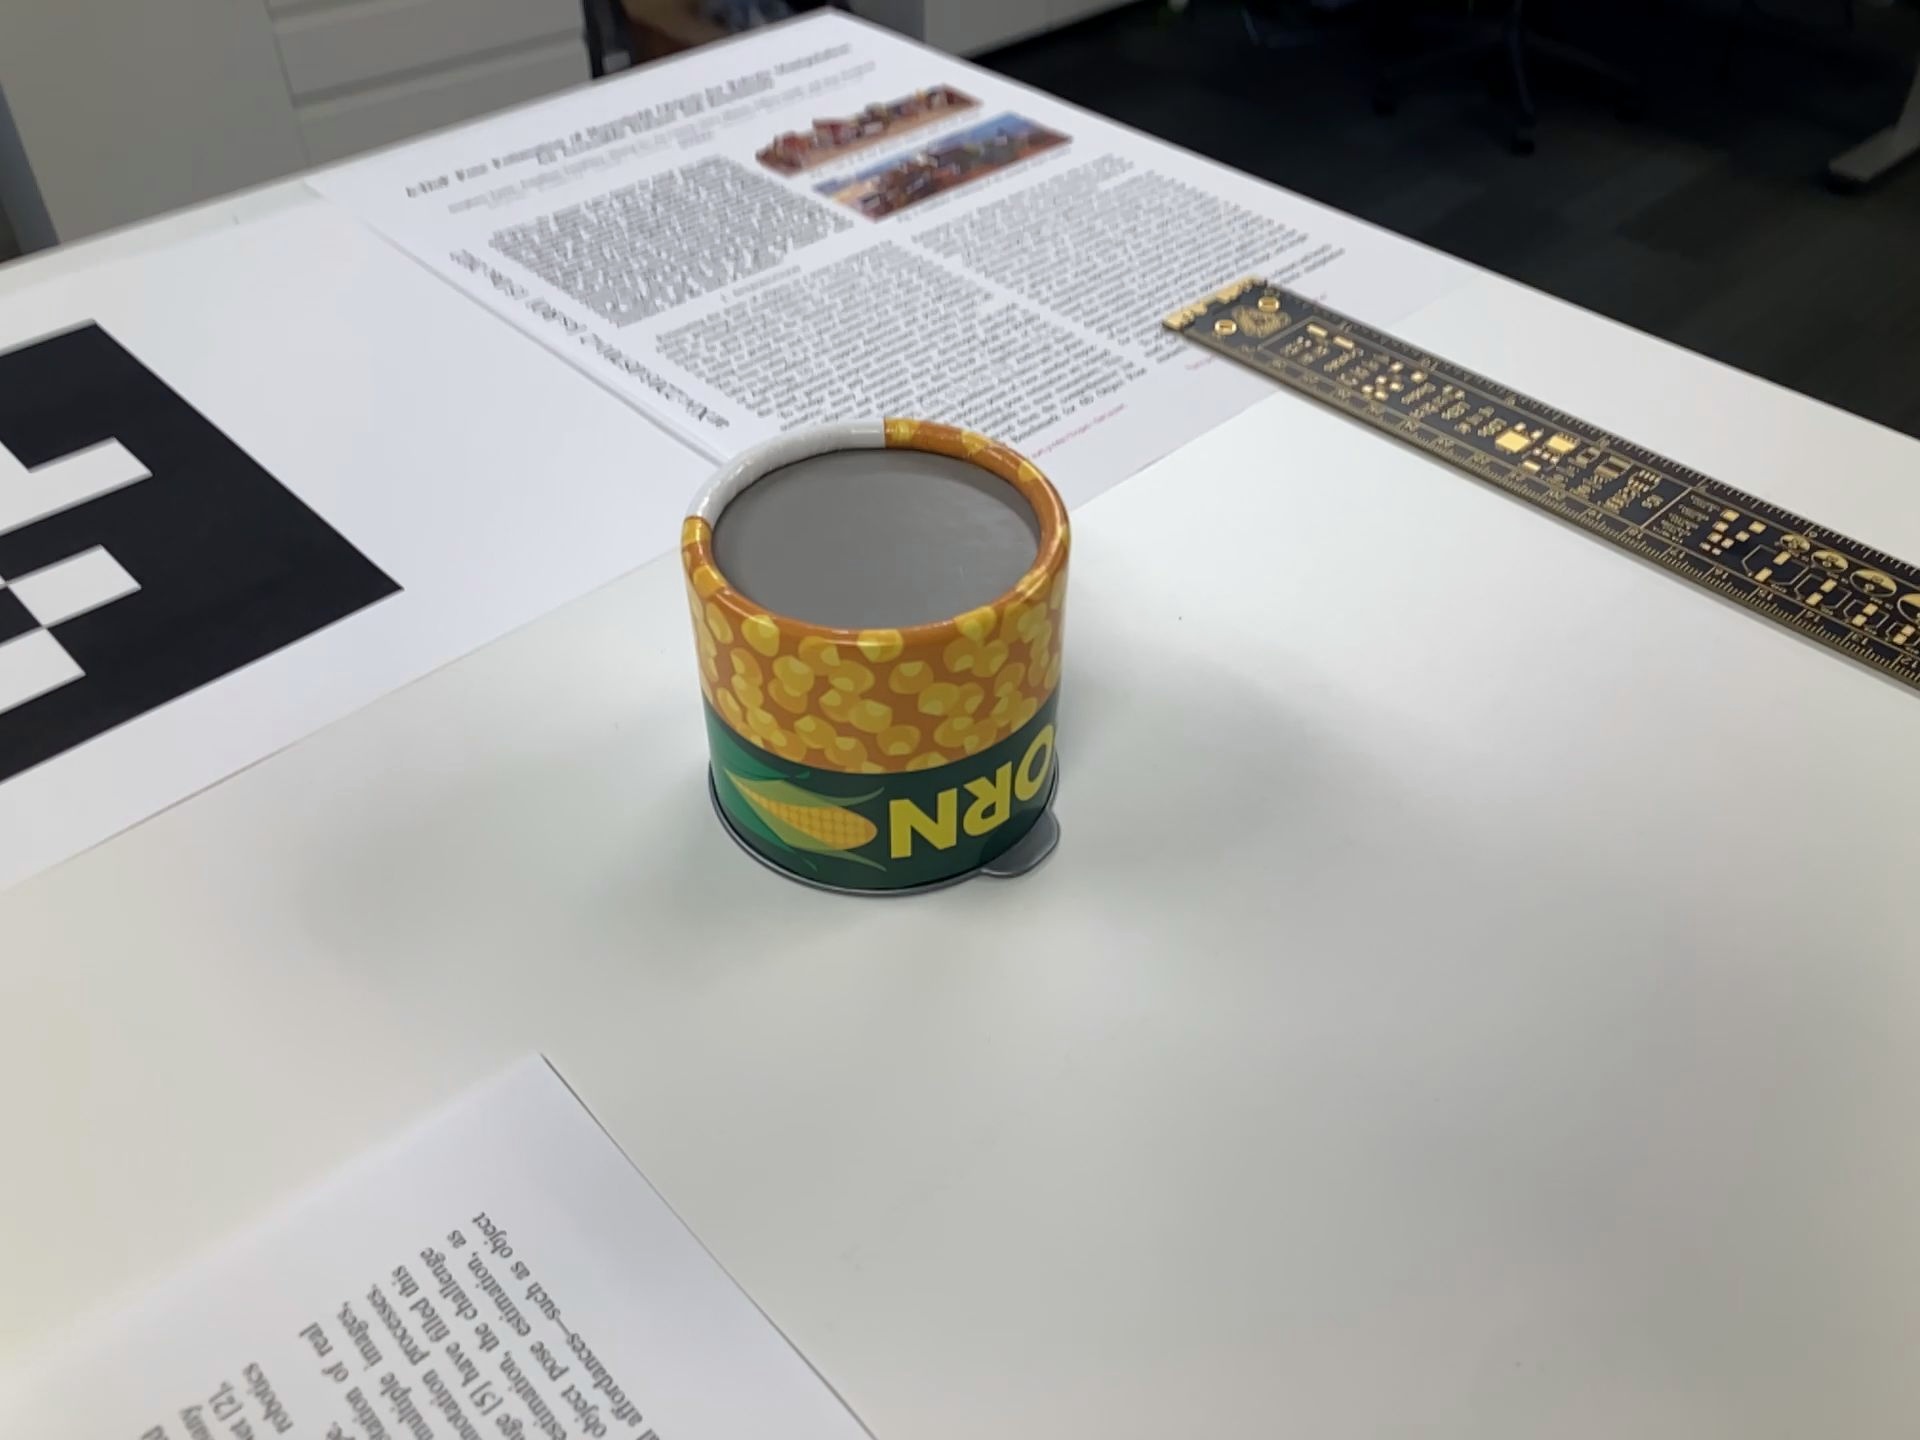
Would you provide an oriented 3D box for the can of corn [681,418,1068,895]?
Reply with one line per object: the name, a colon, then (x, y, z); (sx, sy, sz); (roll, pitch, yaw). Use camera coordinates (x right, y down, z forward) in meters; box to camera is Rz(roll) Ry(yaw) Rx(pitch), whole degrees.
can of corn: (-0.013, -0.012, 0.284); (0.071, 0.058, 0.071); (0, 42, 0)
